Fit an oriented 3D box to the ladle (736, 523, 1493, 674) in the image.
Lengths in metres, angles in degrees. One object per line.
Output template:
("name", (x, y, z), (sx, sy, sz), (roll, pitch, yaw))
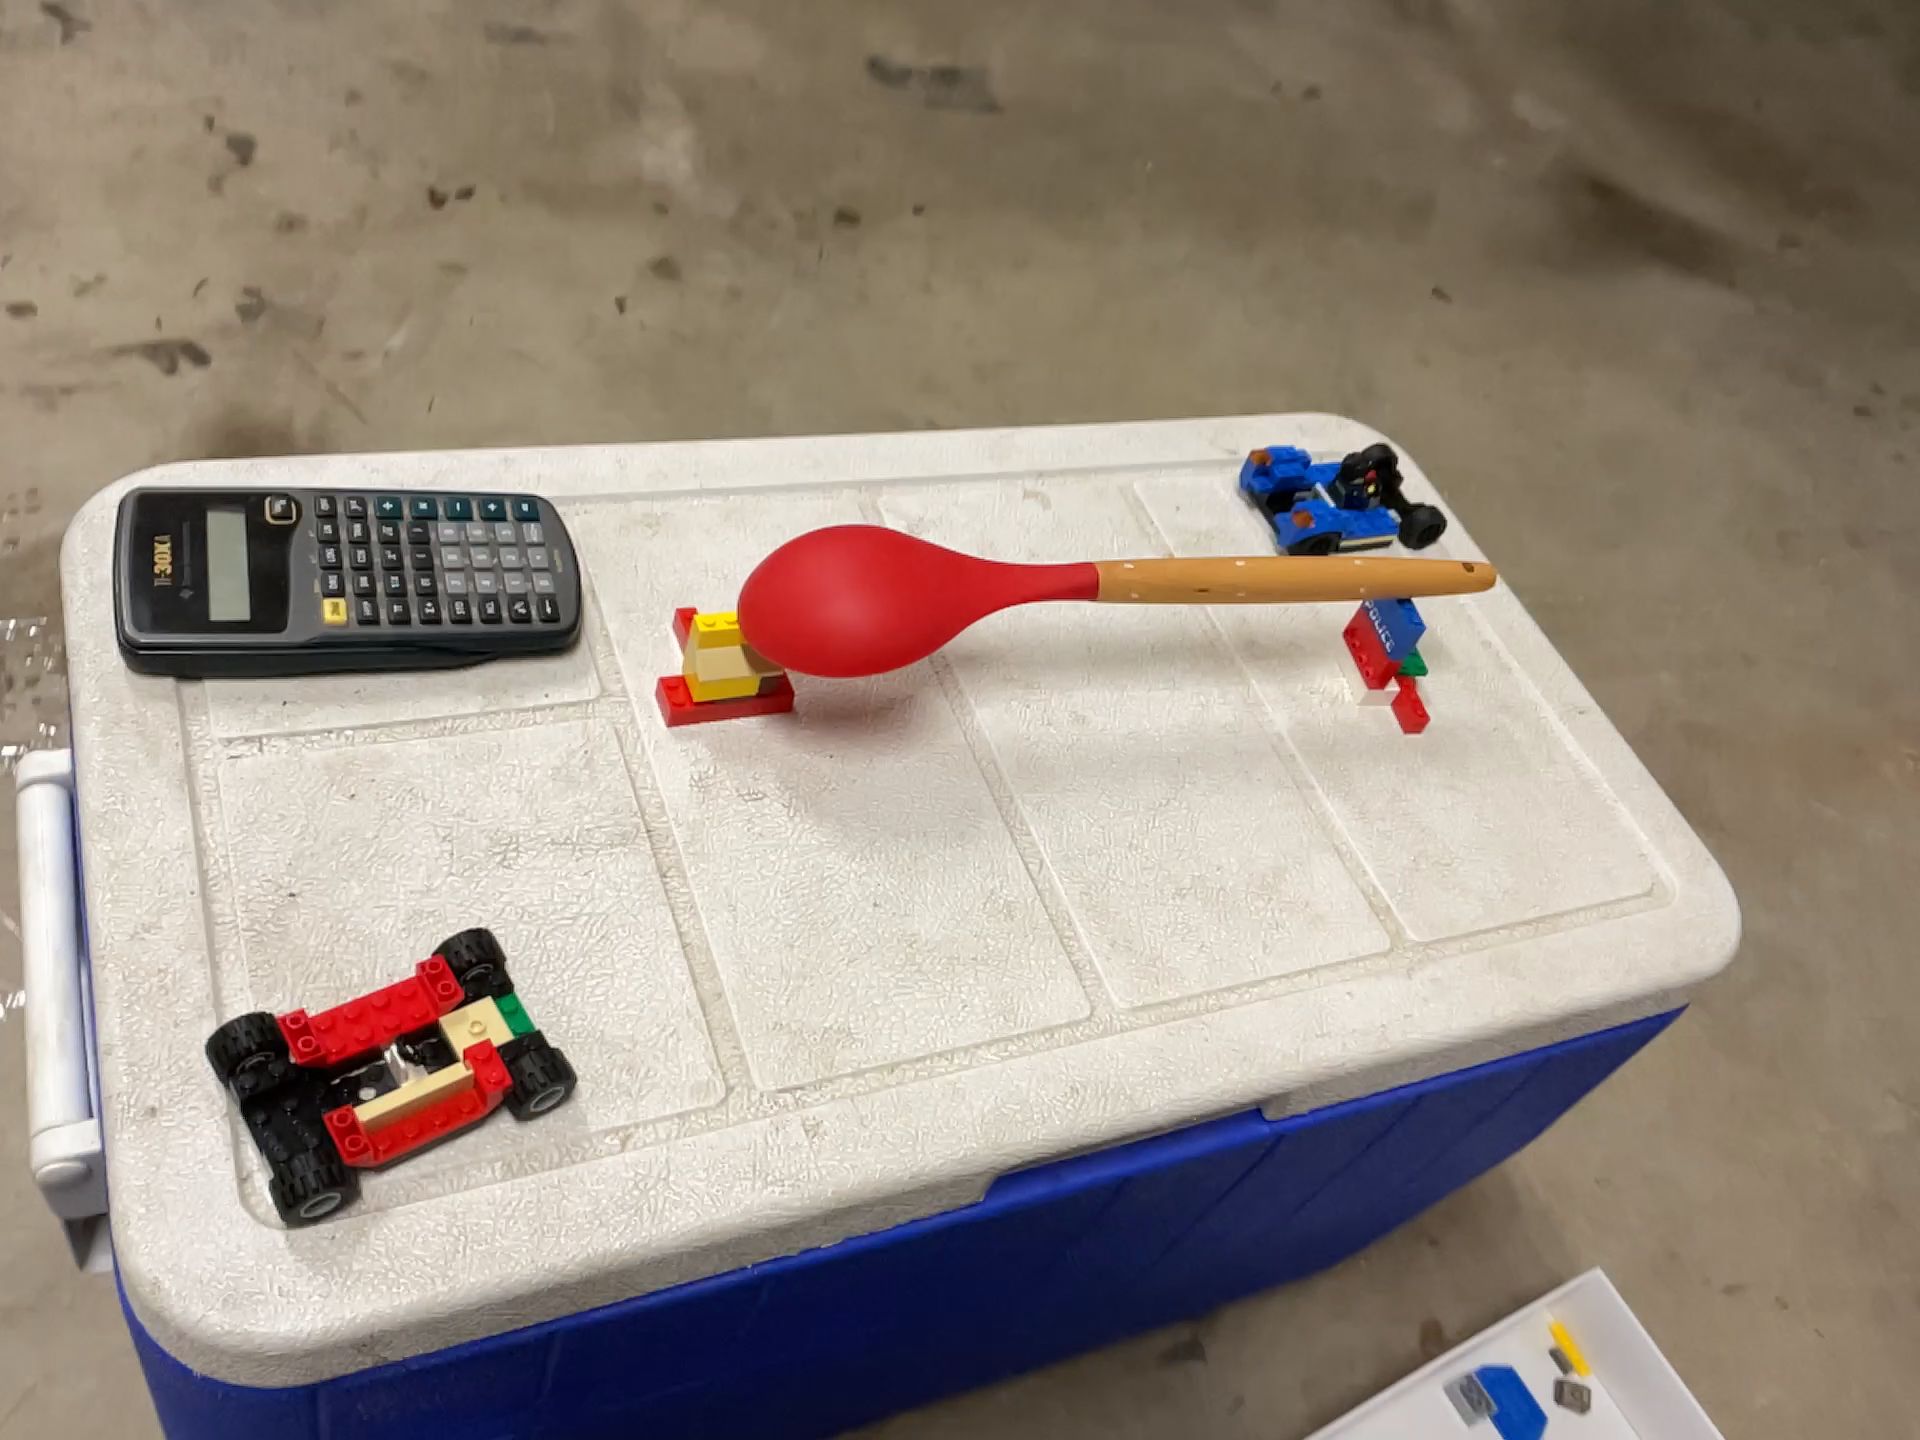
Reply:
("ladle", (0.072, -0.051, 0.603), (0.315, 0.031, 0.069), (-2, 51, -22))
